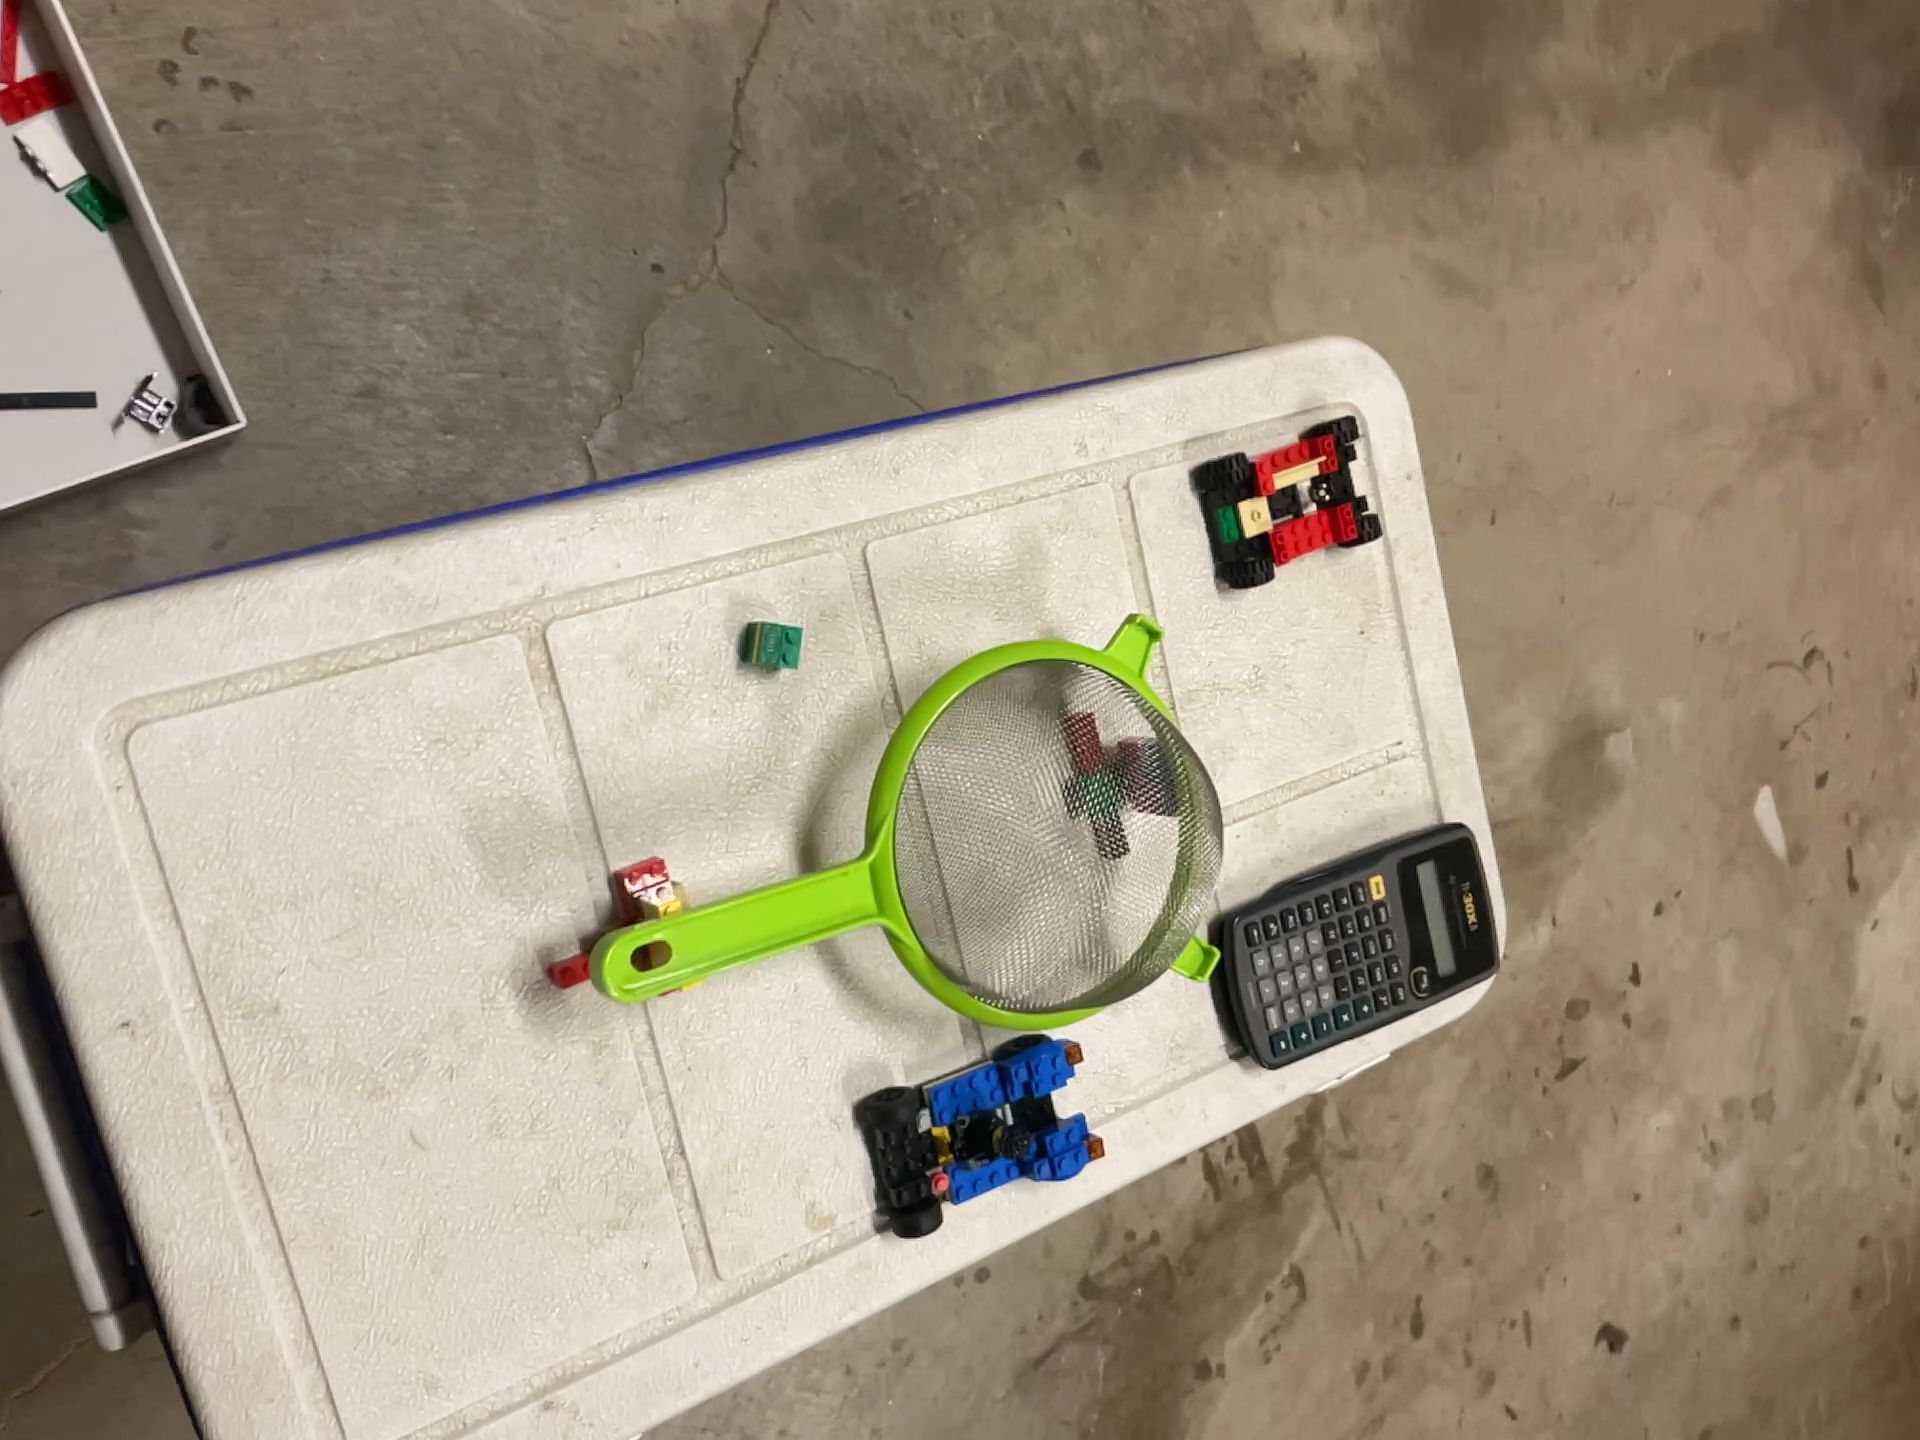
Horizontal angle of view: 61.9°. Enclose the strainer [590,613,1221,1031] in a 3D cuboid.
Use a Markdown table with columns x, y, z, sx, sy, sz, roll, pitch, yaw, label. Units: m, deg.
| x | y | z | sx | sy | sz | roll | pitch | yaw | label |
| --- | --- | --- | --- | --- | --- | --- | --- | --- | --- |
| 0.000 | 0.057 | 0.569 | 0.256 | 0.069 | 0.151 | -15 | 100 | -29 | strainer |
